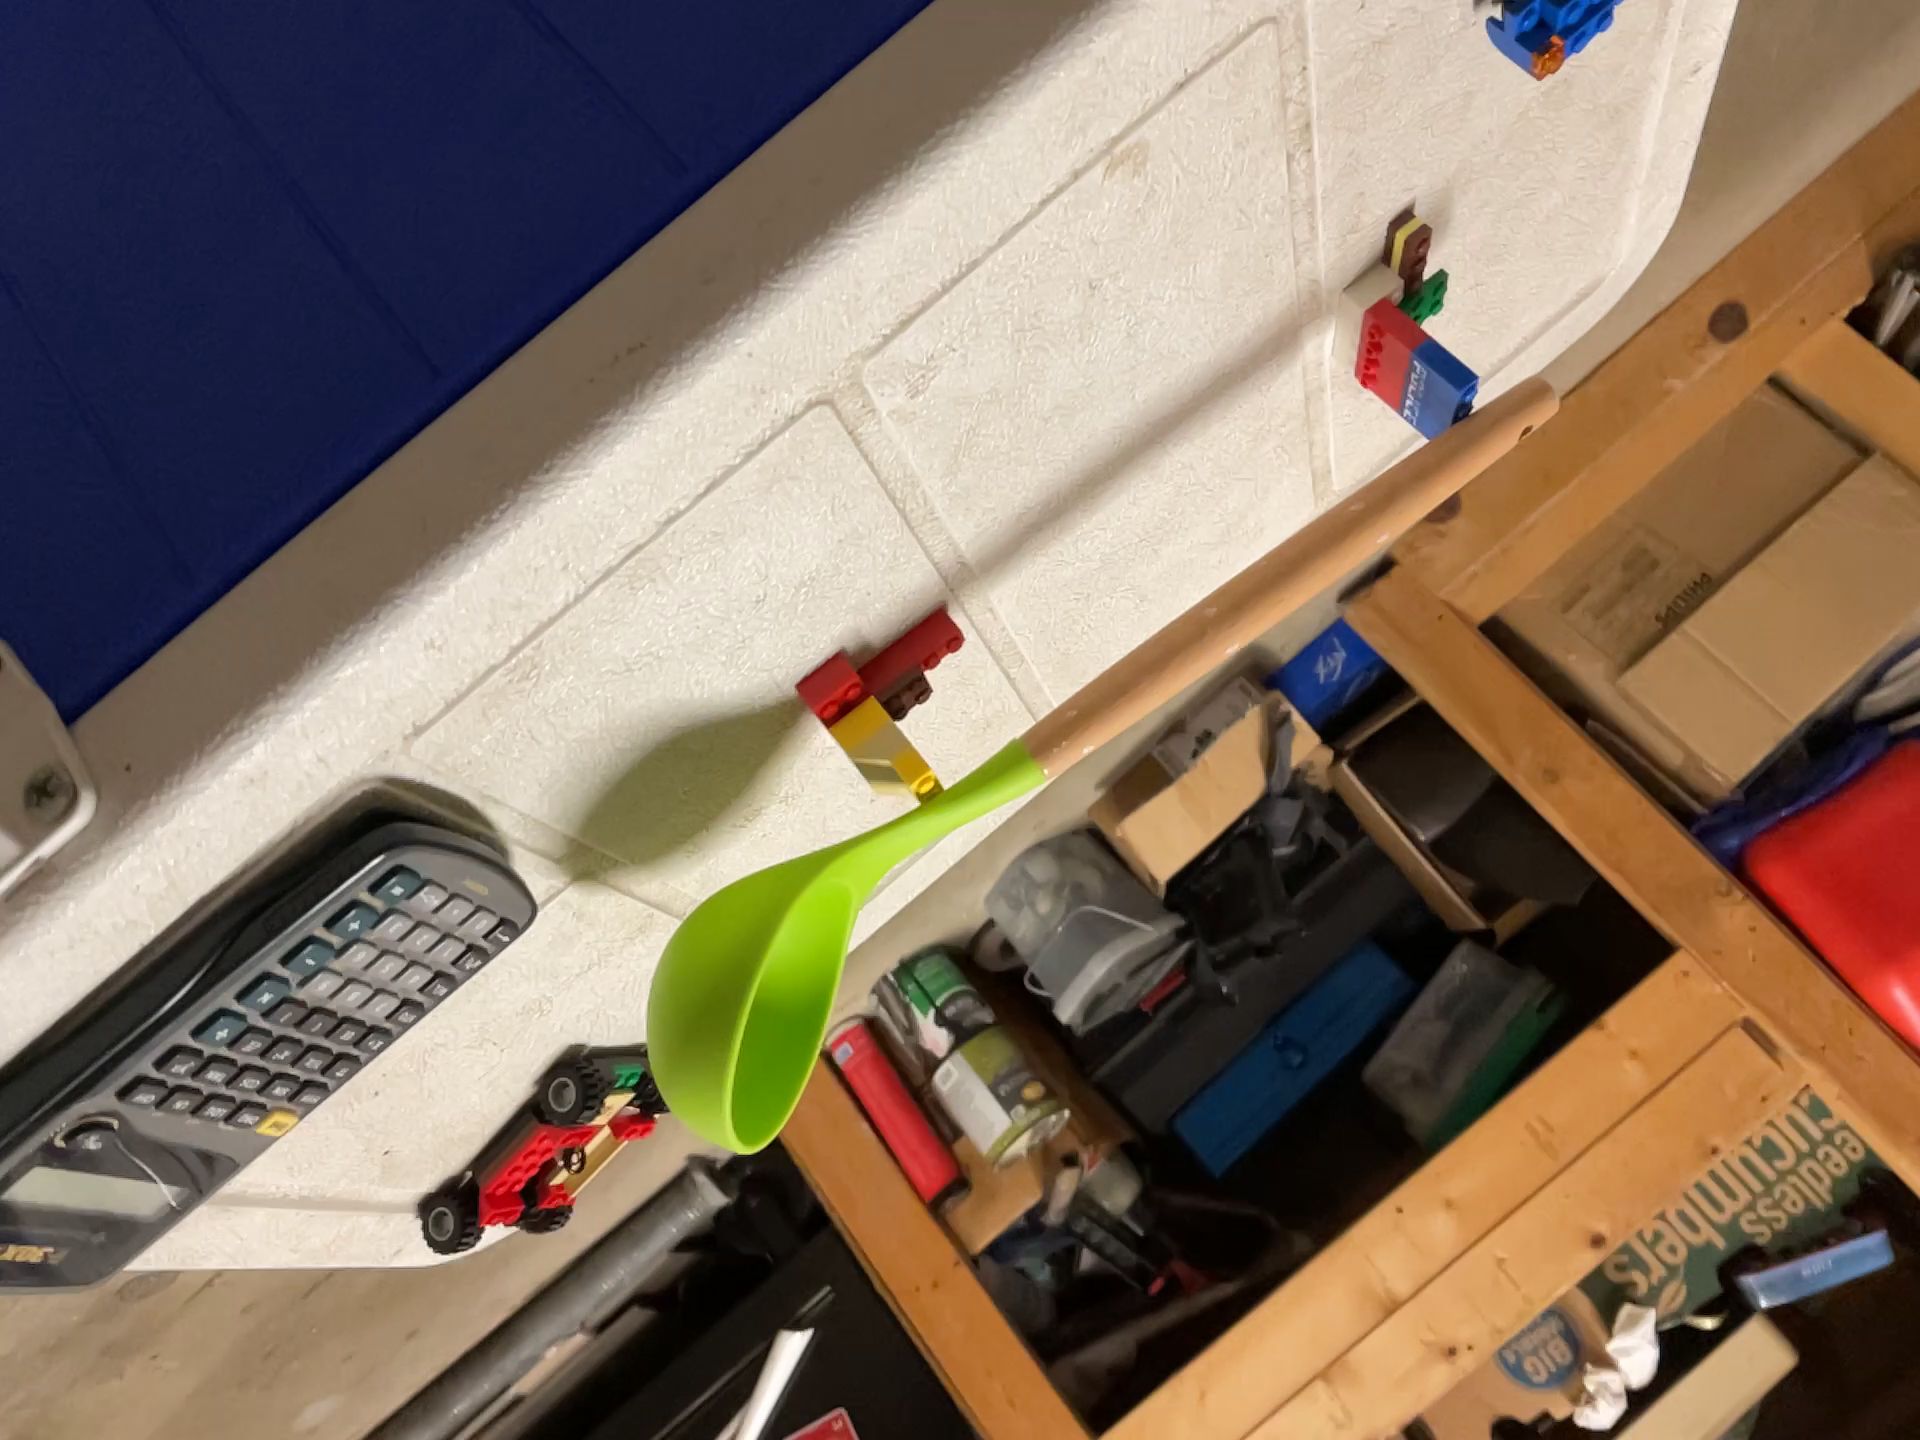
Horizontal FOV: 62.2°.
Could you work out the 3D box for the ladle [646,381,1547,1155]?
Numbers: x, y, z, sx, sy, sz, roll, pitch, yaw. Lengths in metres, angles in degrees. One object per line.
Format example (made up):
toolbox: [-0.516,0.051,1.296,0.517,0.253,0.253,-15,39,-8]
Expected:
ladle: [0.047,0.005,0.449,0.320,0.062,0.078,-36,156,-7]
